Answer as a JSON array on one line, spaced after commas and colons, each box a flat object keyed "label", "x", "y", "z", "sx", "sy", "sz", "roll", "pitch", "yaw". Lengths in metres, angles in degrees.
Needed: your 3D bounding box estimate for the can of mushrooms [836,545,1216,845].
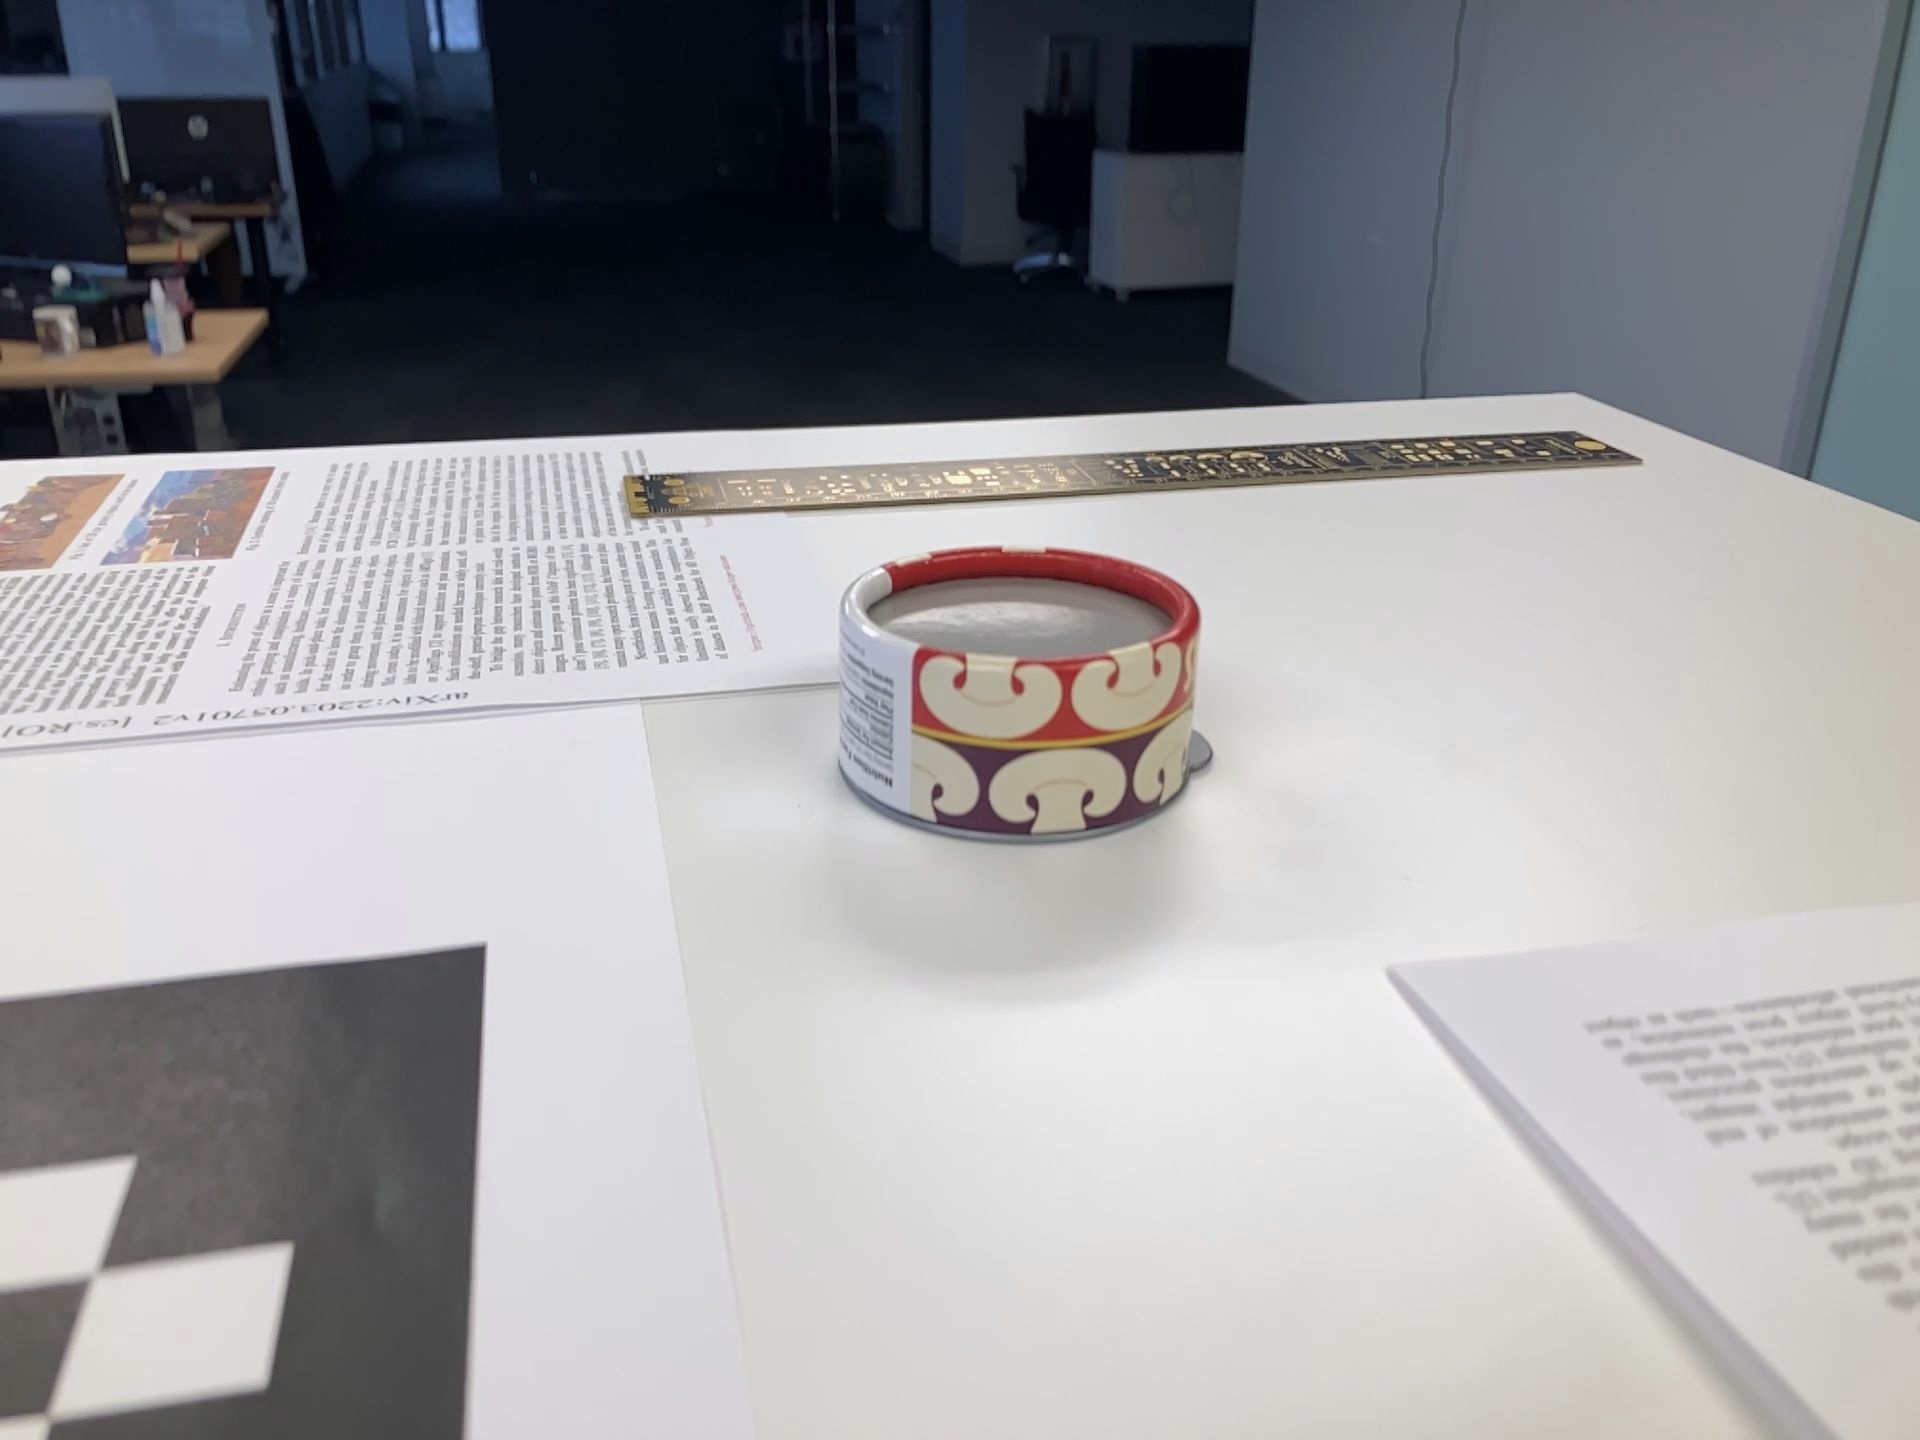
[{"label": "can of mushrooms", "x": 0.013, "y": -0.007, "z": 0.289, "sx": 0.071, "sy": 0.033, "sz": 0.071, "roll": 1, "pitch": 23, "yaw": -1}]
